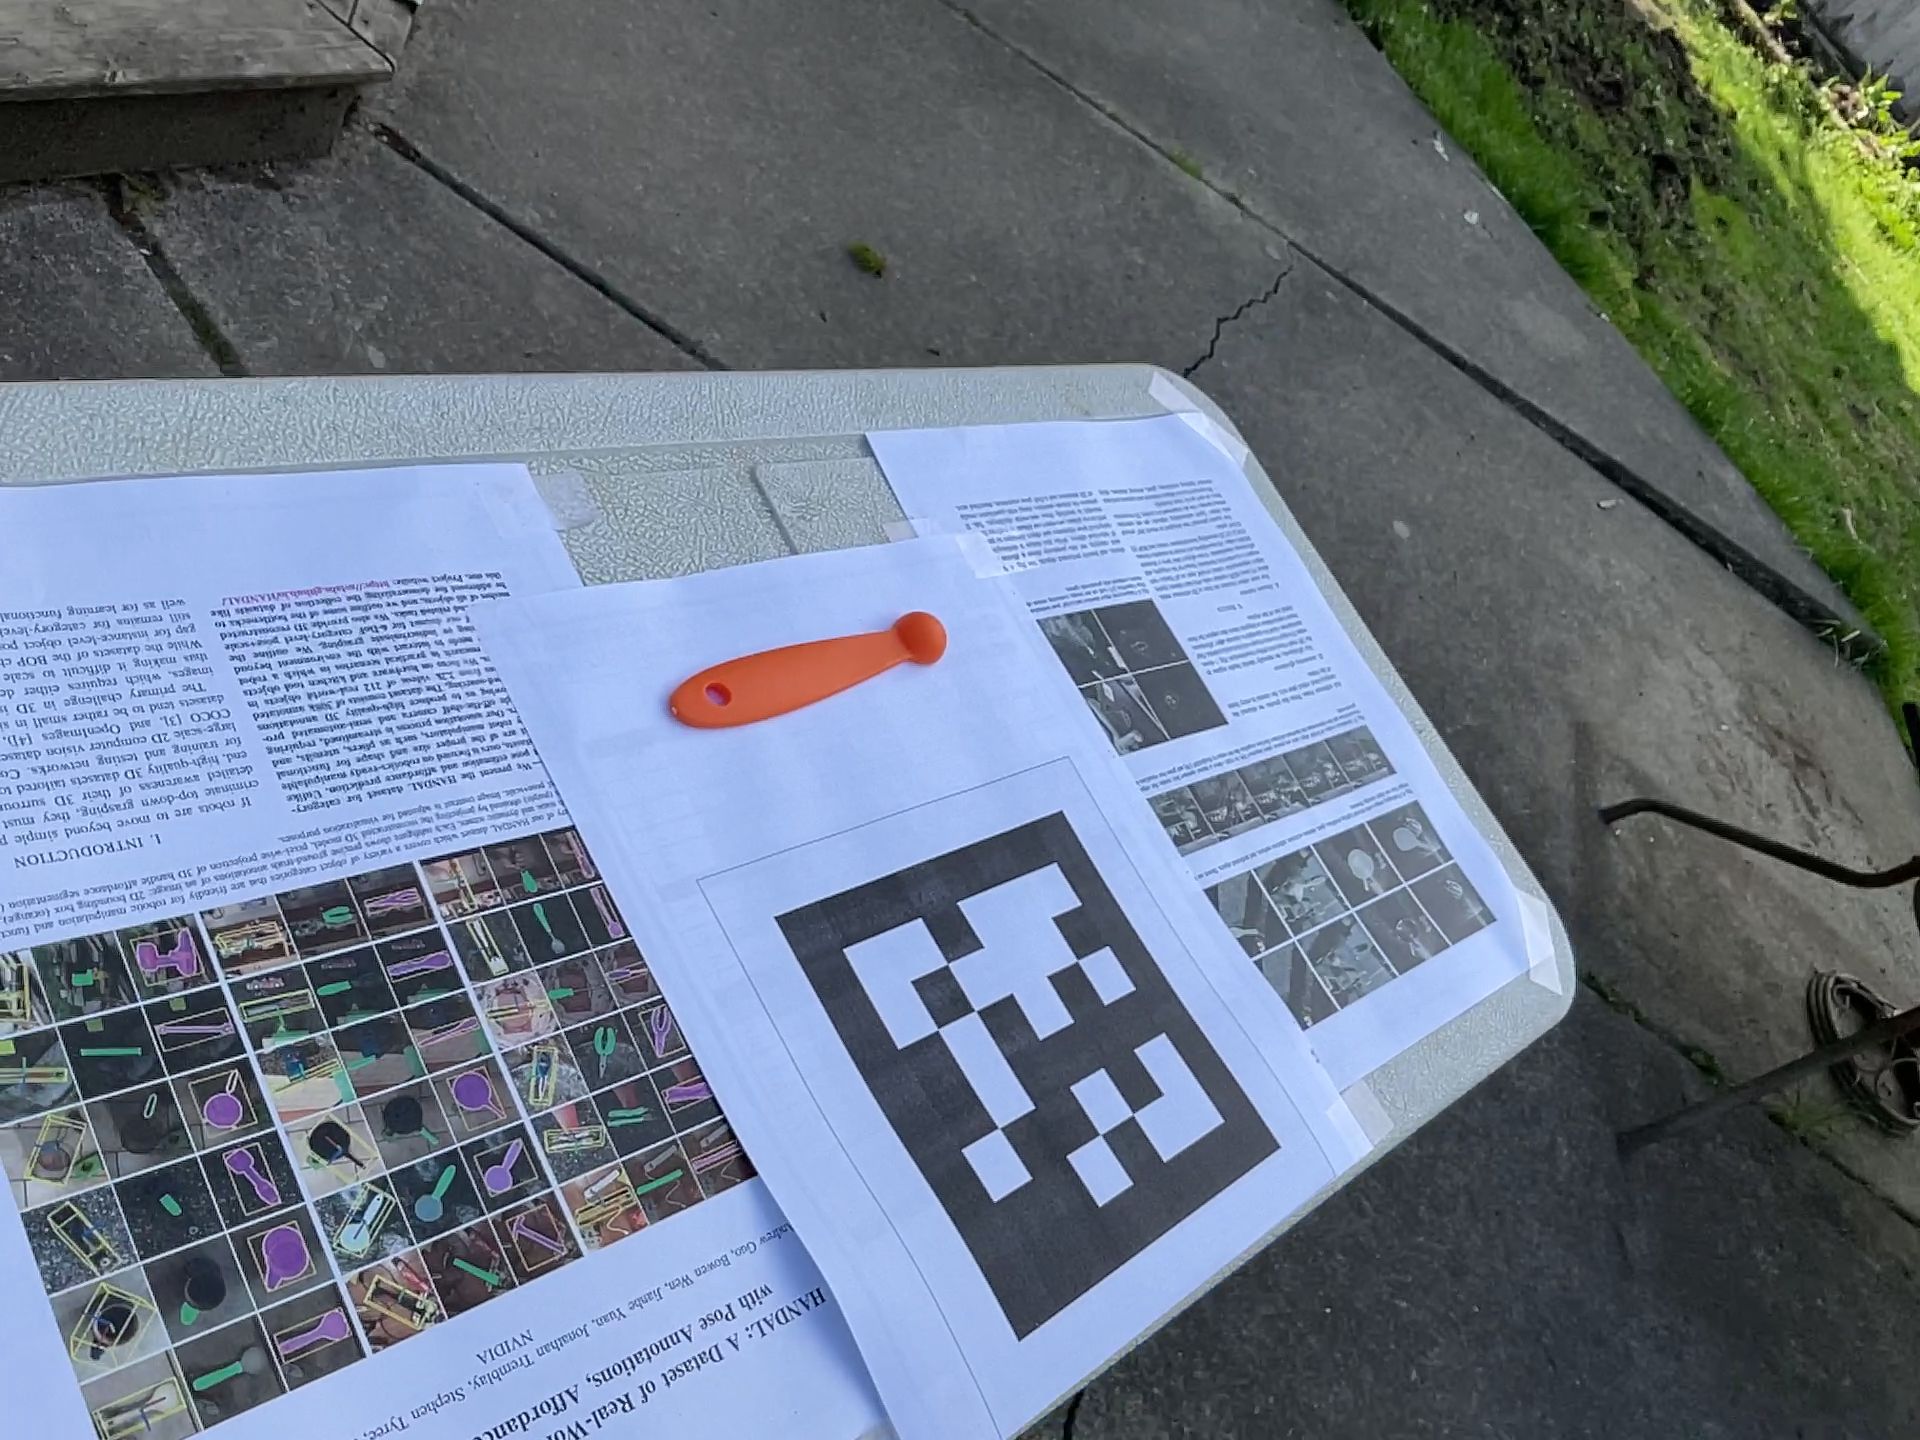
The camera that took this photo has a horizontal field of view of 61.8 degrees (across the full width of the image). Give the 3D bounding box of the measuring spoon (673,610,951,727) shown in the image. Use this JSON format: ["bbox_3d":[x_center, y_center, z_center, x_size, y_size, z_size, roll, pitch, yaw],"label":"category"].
[{"bbox_3d":[-0.042,-0.018,0.502,0.117,0.011,0.021,-20,68,-47],"label":"measuring spoon"}]
